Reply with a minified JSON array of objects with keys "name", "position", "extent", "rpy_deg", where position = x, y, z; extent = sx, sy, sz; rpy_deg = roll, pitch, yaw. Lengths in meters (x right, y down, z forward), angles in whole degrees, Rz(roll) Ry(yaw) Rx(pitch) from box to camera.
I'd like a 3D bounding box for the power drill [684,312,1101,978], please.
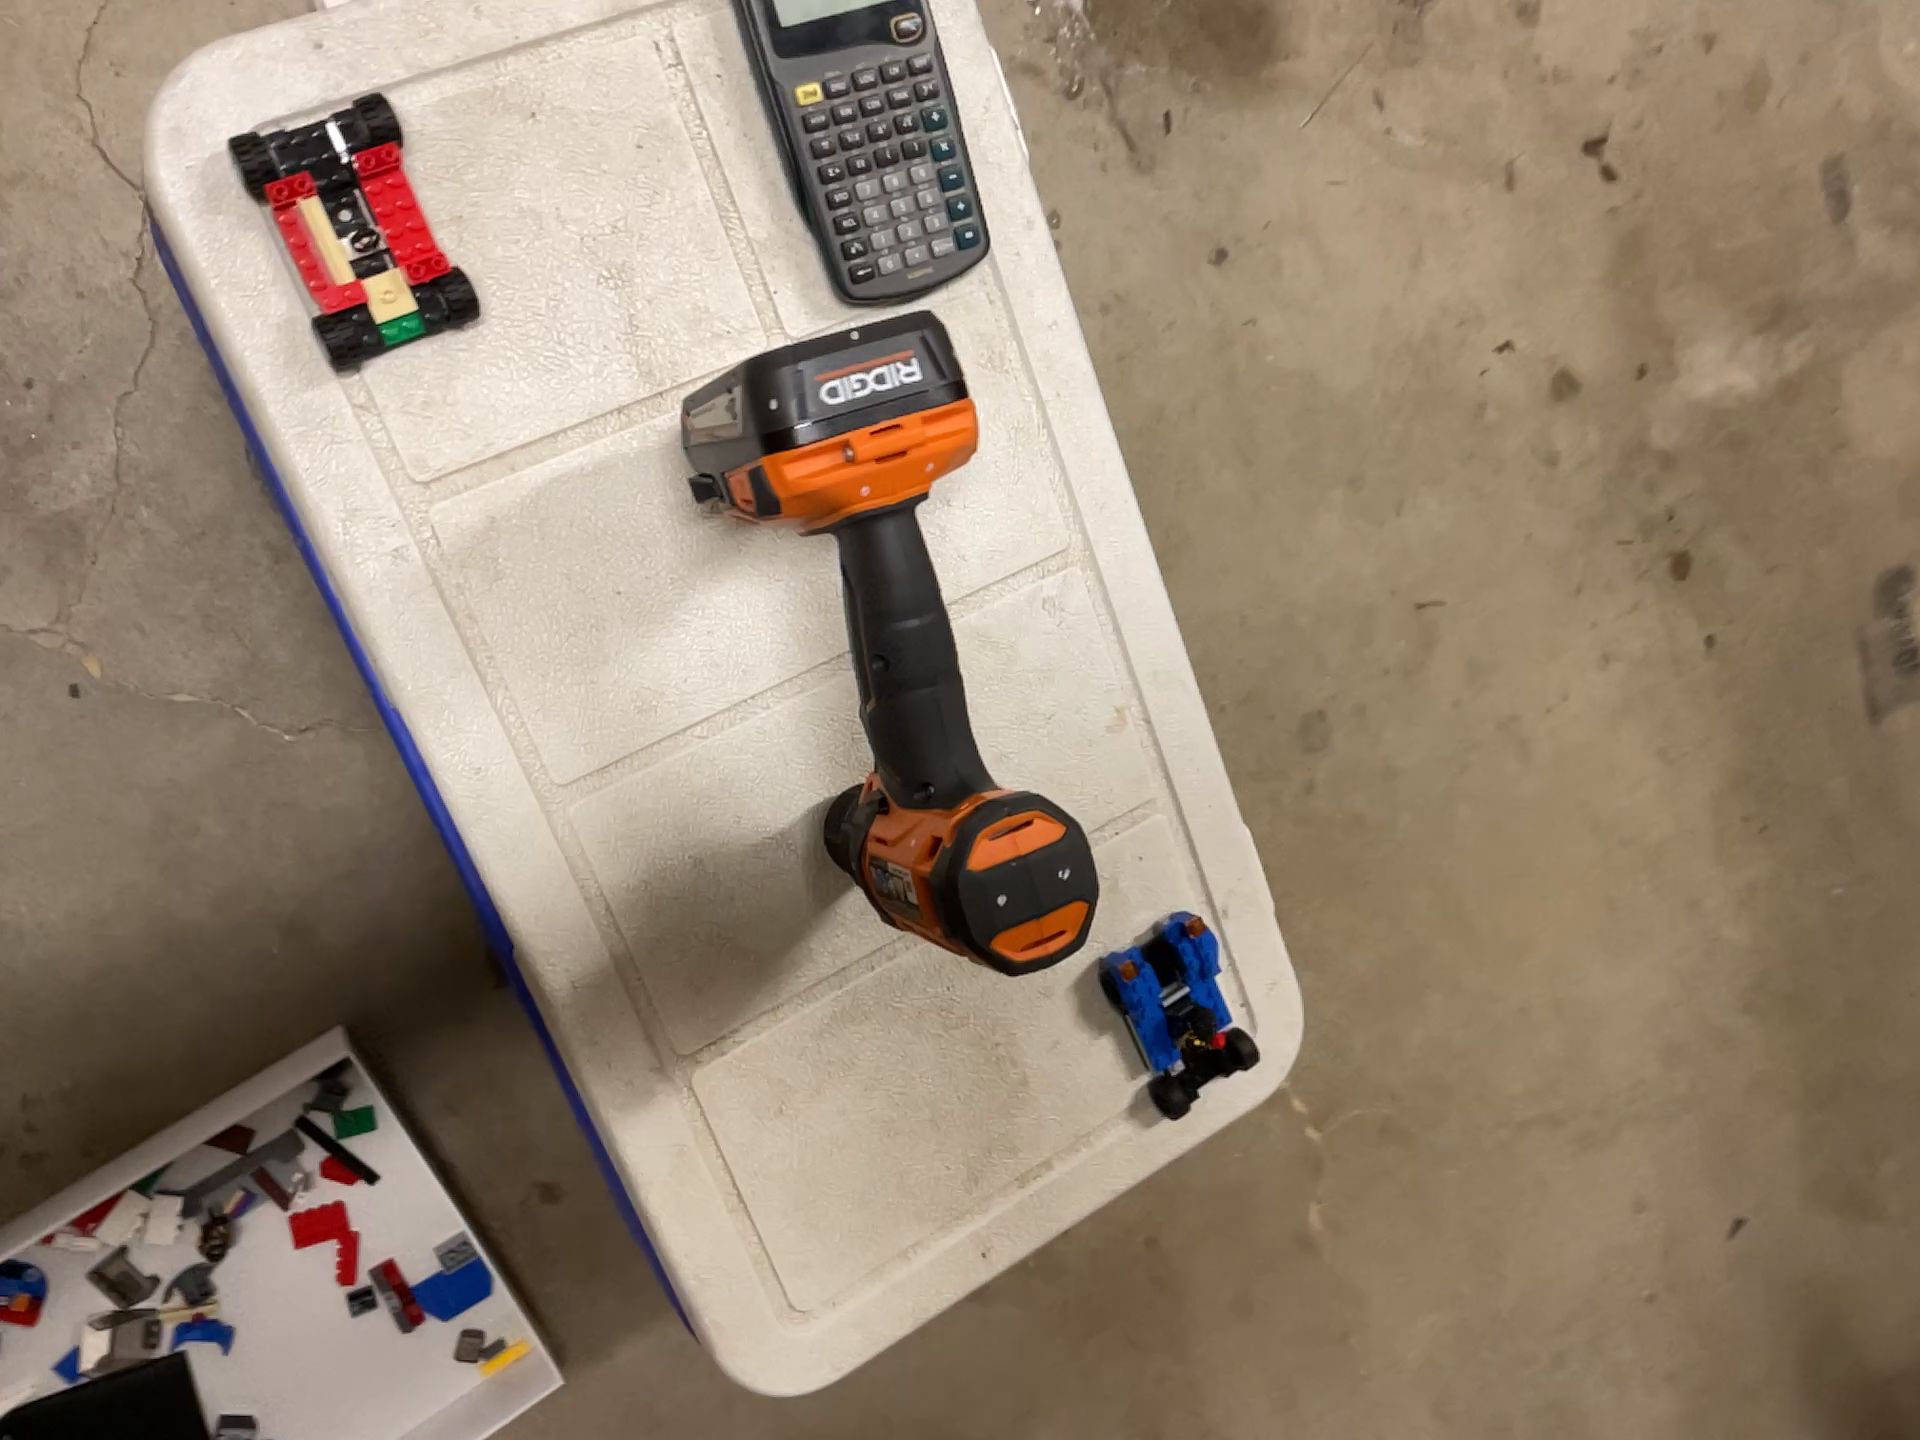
[{"name":"power drill","position":[-0.033,-0.024,0.607],"extent":[0.084,0.185,0.226],"rpy_deg":[-20,100,-20]}]
